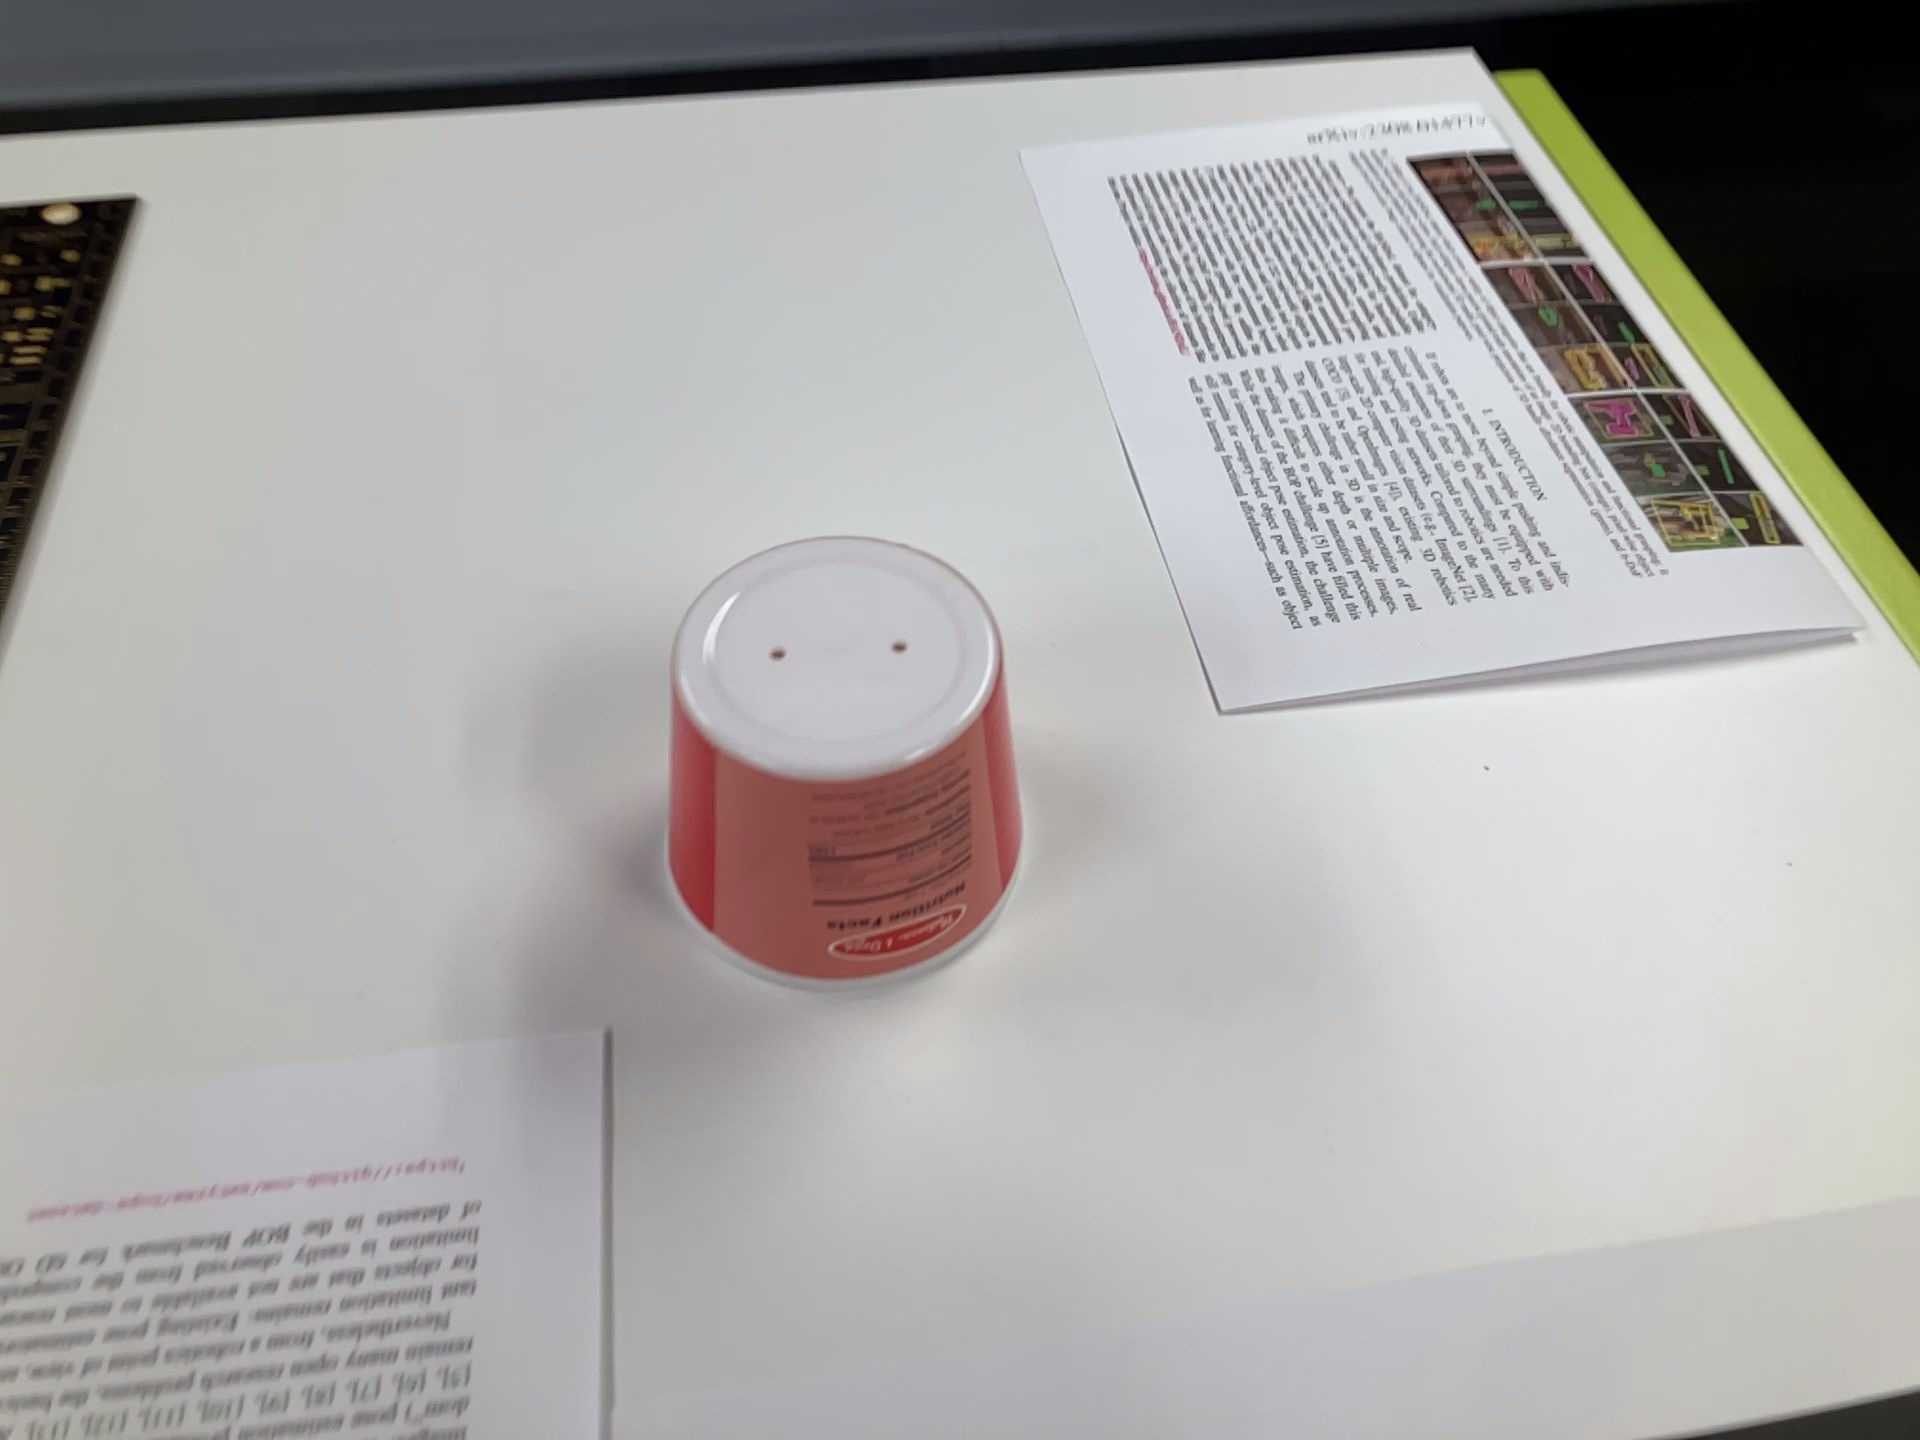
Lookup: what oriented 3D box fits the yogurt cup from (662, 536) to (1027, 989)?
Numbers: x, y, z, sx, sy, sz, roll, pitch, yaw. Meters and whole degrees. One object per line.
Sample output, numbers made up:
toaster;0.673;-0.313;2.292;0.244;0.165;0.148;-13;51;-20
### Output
yogurt cup;-0.021;0.005;0.279;0.072;0.054;0.072;1;49;-1
